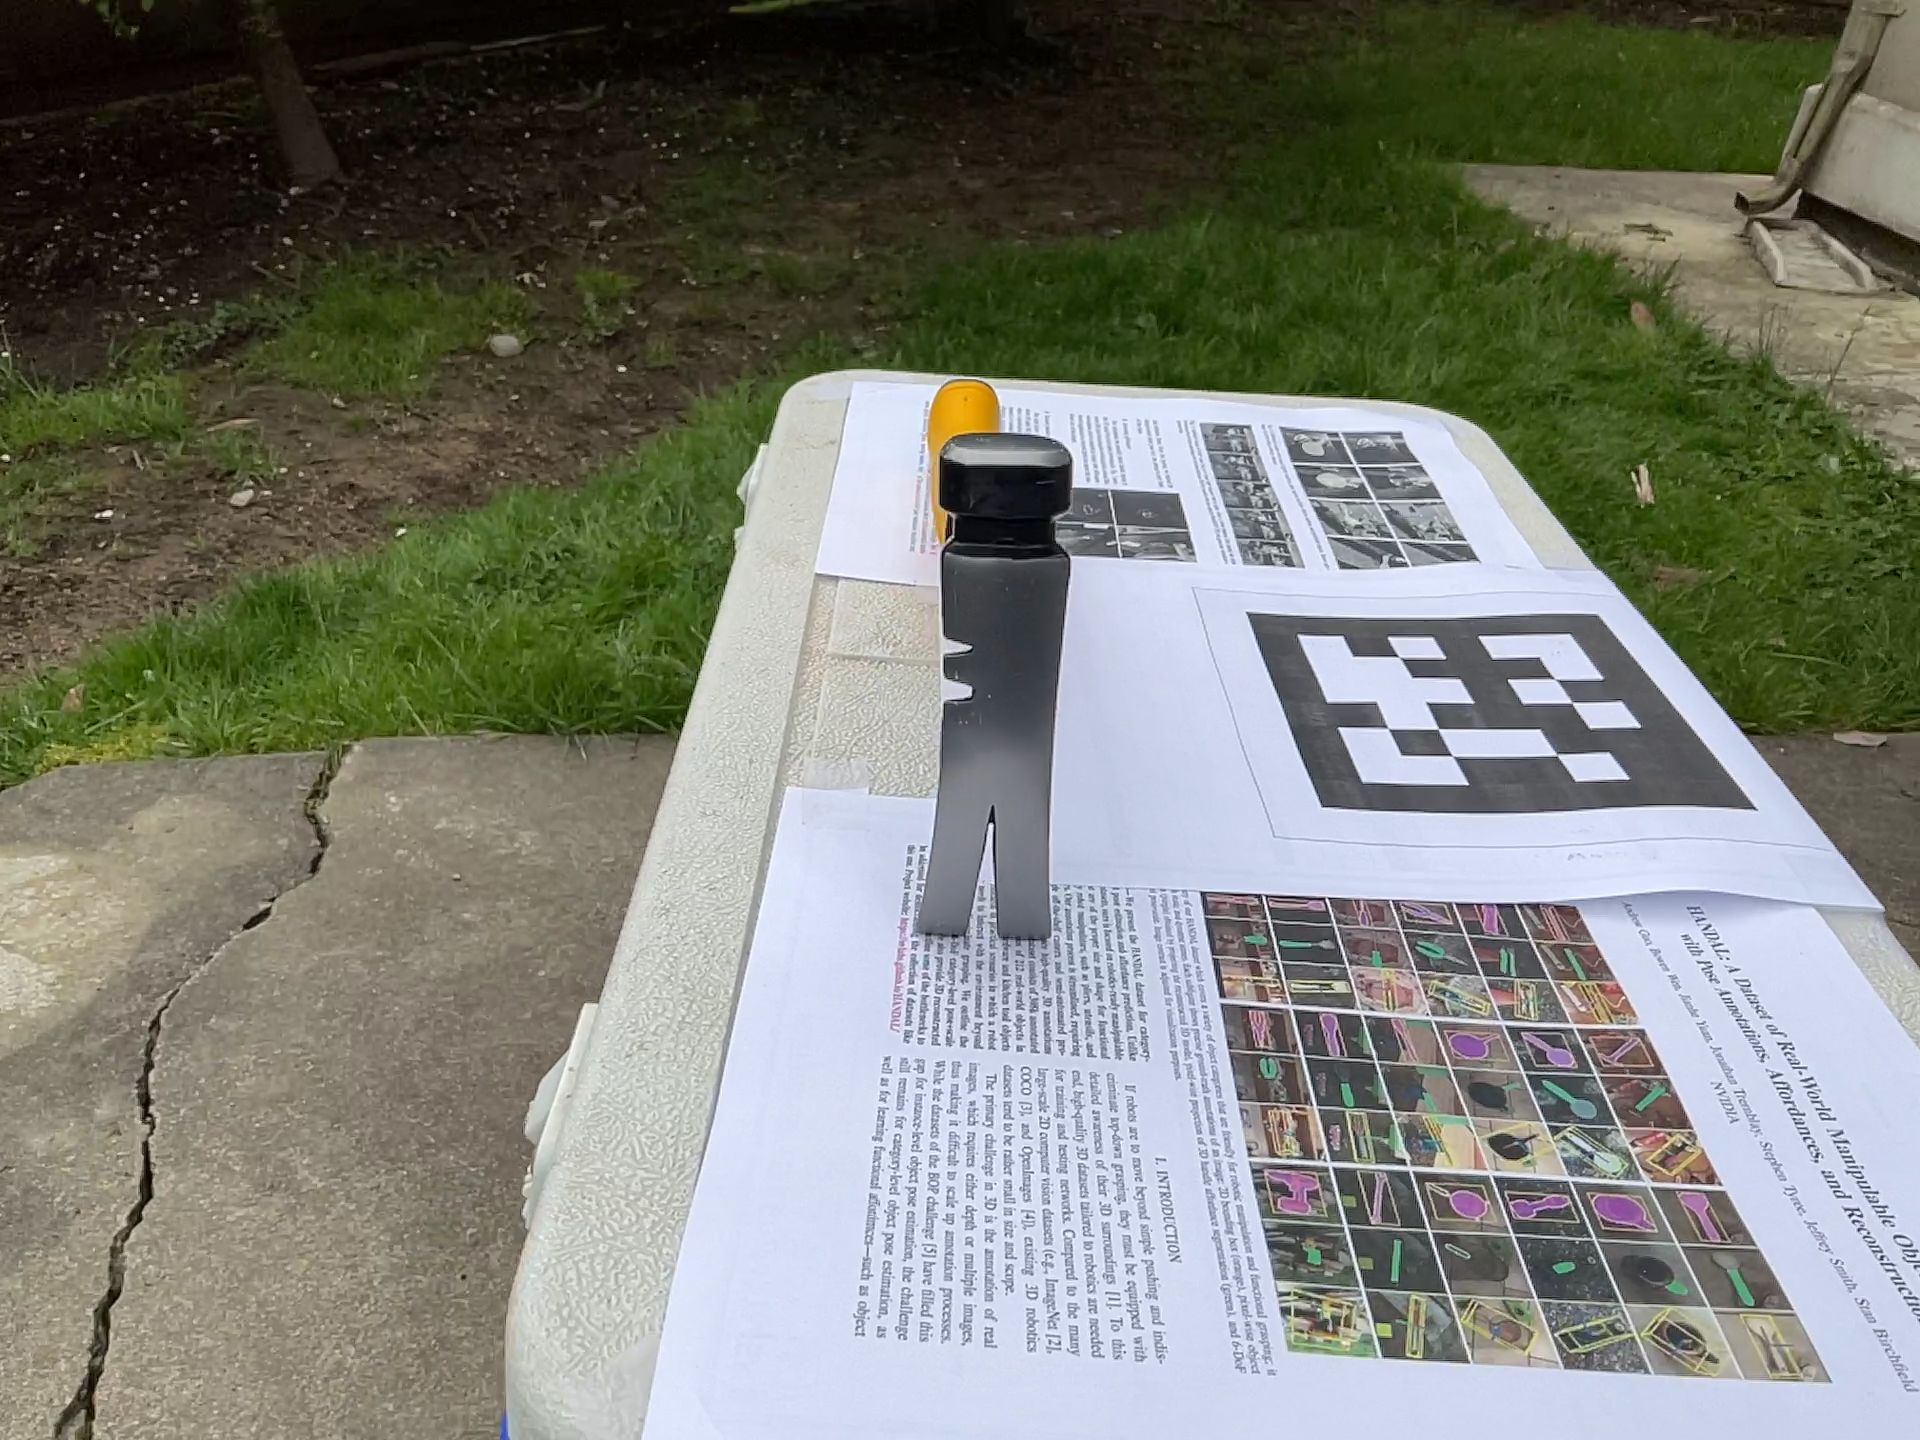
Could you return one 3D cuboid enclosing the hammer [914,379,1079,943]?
[{"bbox_3d":[0.005,-0.057,0.525,0.034,0.127,0.337,2,20,-2],"label":"hammer"}]
